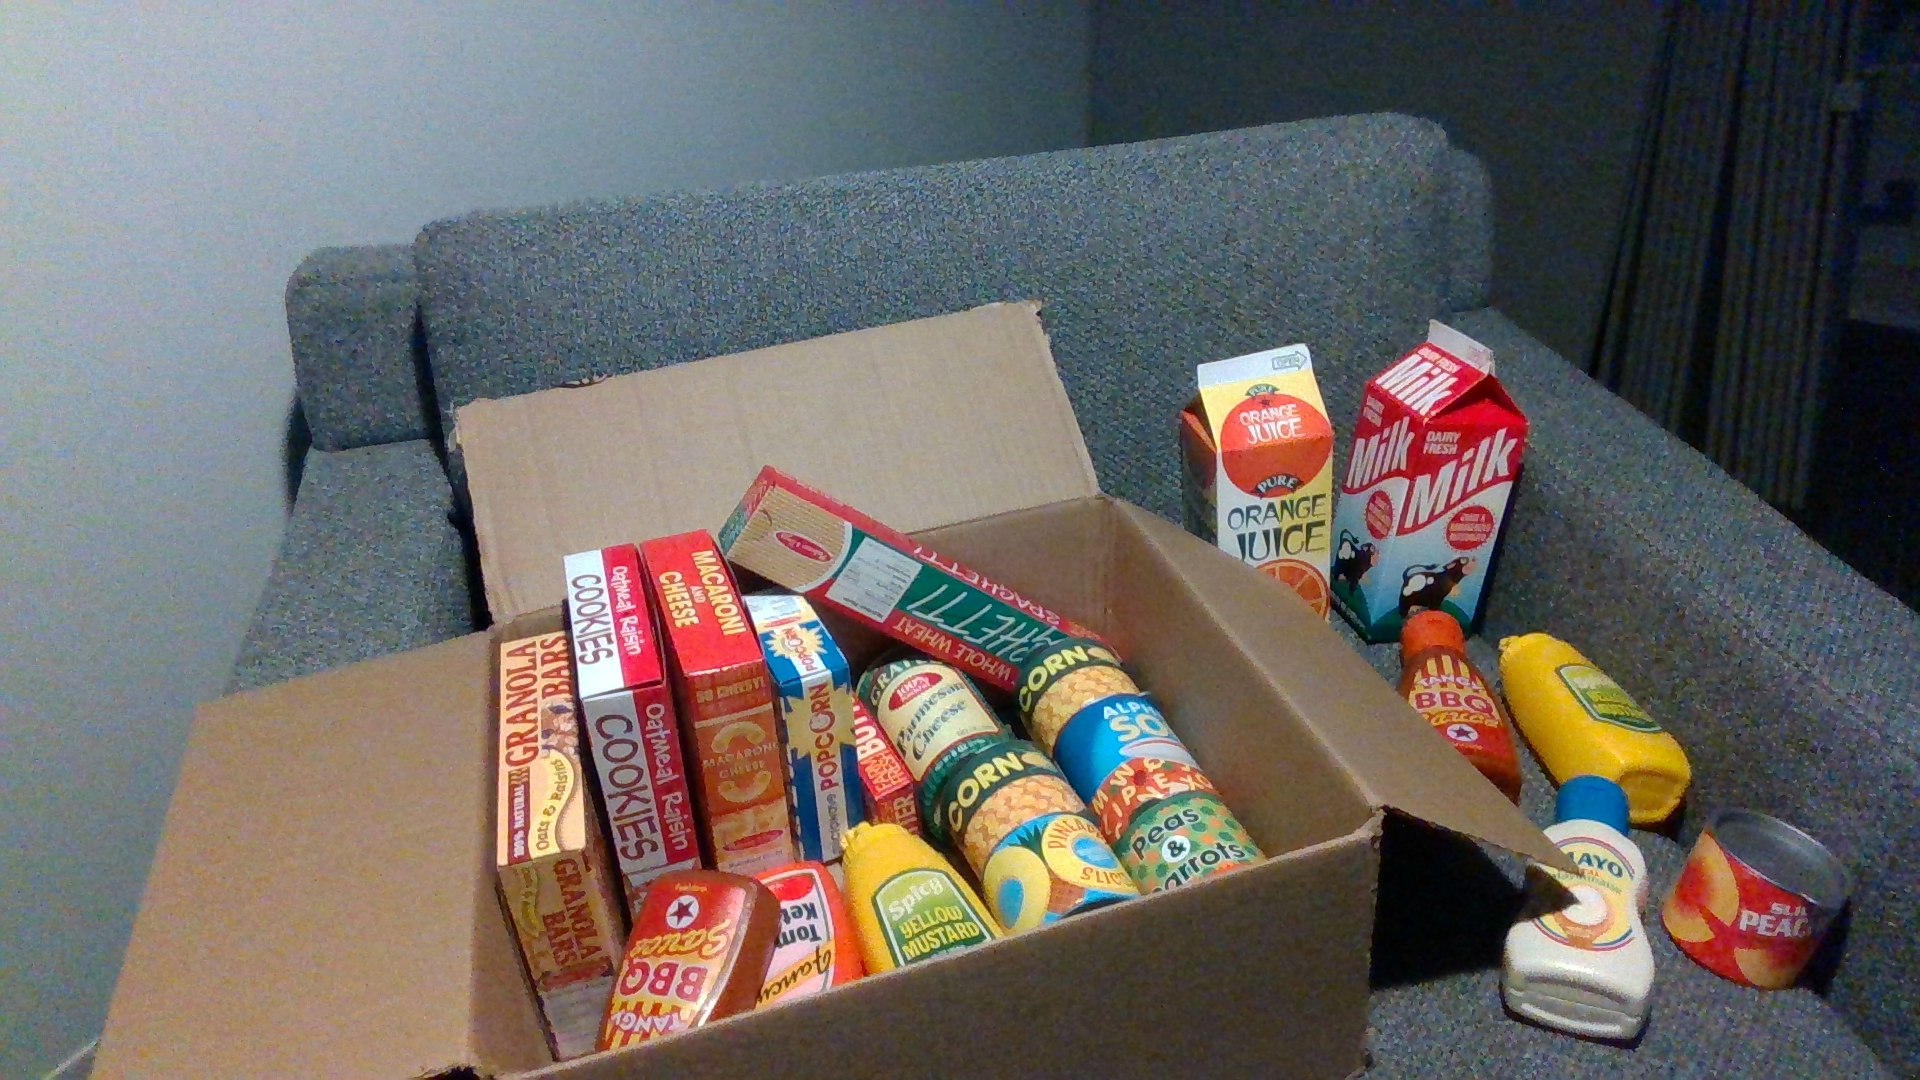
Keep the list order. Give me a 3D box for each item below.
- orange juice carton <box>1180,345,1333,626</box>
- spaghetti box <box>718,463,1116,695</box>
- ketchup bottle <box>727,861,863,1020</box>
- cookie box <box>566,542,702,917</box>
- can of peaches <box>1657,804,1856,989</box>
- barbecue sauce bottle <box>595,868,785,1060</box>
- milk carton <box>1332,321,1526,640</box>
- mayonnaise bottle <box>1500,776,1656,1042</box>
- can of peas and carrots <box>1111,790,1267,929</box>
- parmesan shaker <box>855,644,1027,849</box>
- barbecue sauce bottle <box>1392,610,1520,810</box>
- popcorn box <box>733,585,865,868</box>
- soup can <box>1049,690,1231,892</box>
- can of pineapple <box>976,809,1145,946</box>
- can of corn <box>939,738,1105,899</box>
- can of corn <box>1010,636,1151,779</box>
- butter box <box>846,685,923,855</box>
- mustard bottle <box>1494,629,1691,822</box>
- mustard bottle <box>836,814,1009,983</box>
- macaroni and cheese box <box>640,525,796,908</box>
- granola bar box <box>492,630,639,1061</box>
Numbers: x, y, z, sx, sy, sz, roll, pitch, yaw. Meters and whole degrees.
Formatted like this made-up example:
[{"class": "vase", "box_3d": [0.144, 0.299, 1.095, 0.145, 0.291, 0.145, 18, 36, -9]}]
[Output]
[{"class": "orange juice carton", "box_3d": [0.181, -0.024, 0.858, 0.072, 0.191, 0.073, -9, 26, -7]}, {"class": "spaghetti box", "box_3d": [-0.015, 0.035, 0.765, 0.250, 0.050, 0.029, 28, 16, -30]}, {"class": "ketchup bottle", "box_3d": [-0.070, 0.211, 0.616, 0.065, 0.043, 0.149, -19, 34, -7]}, {"class": "cookie box", "box_3d": [-0.157, 0.103, 0.684, 0.040, 0.166, 0.123, -11, 32, -13]}, {"class": "can of peaches", "box_3d": [0.377, 0.171, 0.659, 0.071, 0.057, 0.071, 12, 26, -6]}, {"class": "barbecue sauce bottle", "box_3d": [-0.125, 0.215, 0.587, 0.065, 0.043, 0.149, -3, 47, 24]}, {"class": "milk carton", "box_3d": [0.292, -0.036, 0.872, 0.073, 0.189, 0.072, 0, 25, -13]}, {"class": "mayonnaise bottle", "box_3d": [0.301, 0.172, 0.670, 0.065, 0.041, 0.149, 7, 31, 24]}, {"class": "can of peas and carrots", "box_3d": [0.112, 0.161, 0.658, 0.071, 0.070, 0.059, -11, 32, -16]}, {"class": "parmesan shaker", "box_3d": [-0.006, 0.108, 0.754, 0.071, 0.071, 0.103, -14, 32, -20]}, {"class": "barbecue sauce bottle", "box_3d": [0.277, 0.095, 0.796, 0.065, 0.043, 0.149, 5, 30, 9]}, {"class": "popcorn box", "box_3d": [-0.085, 0.098, 0.735, 0.038, 0.126, 0.085, -15, 34, -19]}, {"class": "soup can", "box_3d": [0.093, 0.126, 0.714, 0.071, 0.071, 0.084, -11, 31, -16]}, {"class": "can of pineapple", "box_3d": [0.049, 0.170, 0.649, 0.071, 0.070, 0.058, -13, 33, -19]}, {"class": "can of corn", "box_3d": [0.029, 0.141, 0.692, 0.071, 0.070, 0.058, -13, 33, -20]}, {"class": "can of corn", "box_3d": [0.067, 0.095, 0.771, 0.071, 0.070, 0.058, -10, 31, -15]}, {"class": "butter box", "box_3d": [-0.052, 0.125, 0.752, 0.024, 0.052, 0.104, -18, 34, -19]}, {"class": "mustard bottle", "box_3d": [0.351, 0.095, 0.806, 0.065, 0.048, 0.161, 9, 28, -17]}, {"class": "mustard bottle", "box_3d": [-0.026, 0.180, 0.664, 0.065, 0.048, 0.161, -12, 33, -23]}, {"class": "macaroni and cheese box", "box_3d": [-0.119, 0.094, 0.696, 0.040, 0.165, 0.124, -13, 33, -16]}, {"class": "granola bar box", "box_3d": [-0.190, 0.141, 0.667, 0.039, 0.123, 0.166, -12, 32, -10]}]
